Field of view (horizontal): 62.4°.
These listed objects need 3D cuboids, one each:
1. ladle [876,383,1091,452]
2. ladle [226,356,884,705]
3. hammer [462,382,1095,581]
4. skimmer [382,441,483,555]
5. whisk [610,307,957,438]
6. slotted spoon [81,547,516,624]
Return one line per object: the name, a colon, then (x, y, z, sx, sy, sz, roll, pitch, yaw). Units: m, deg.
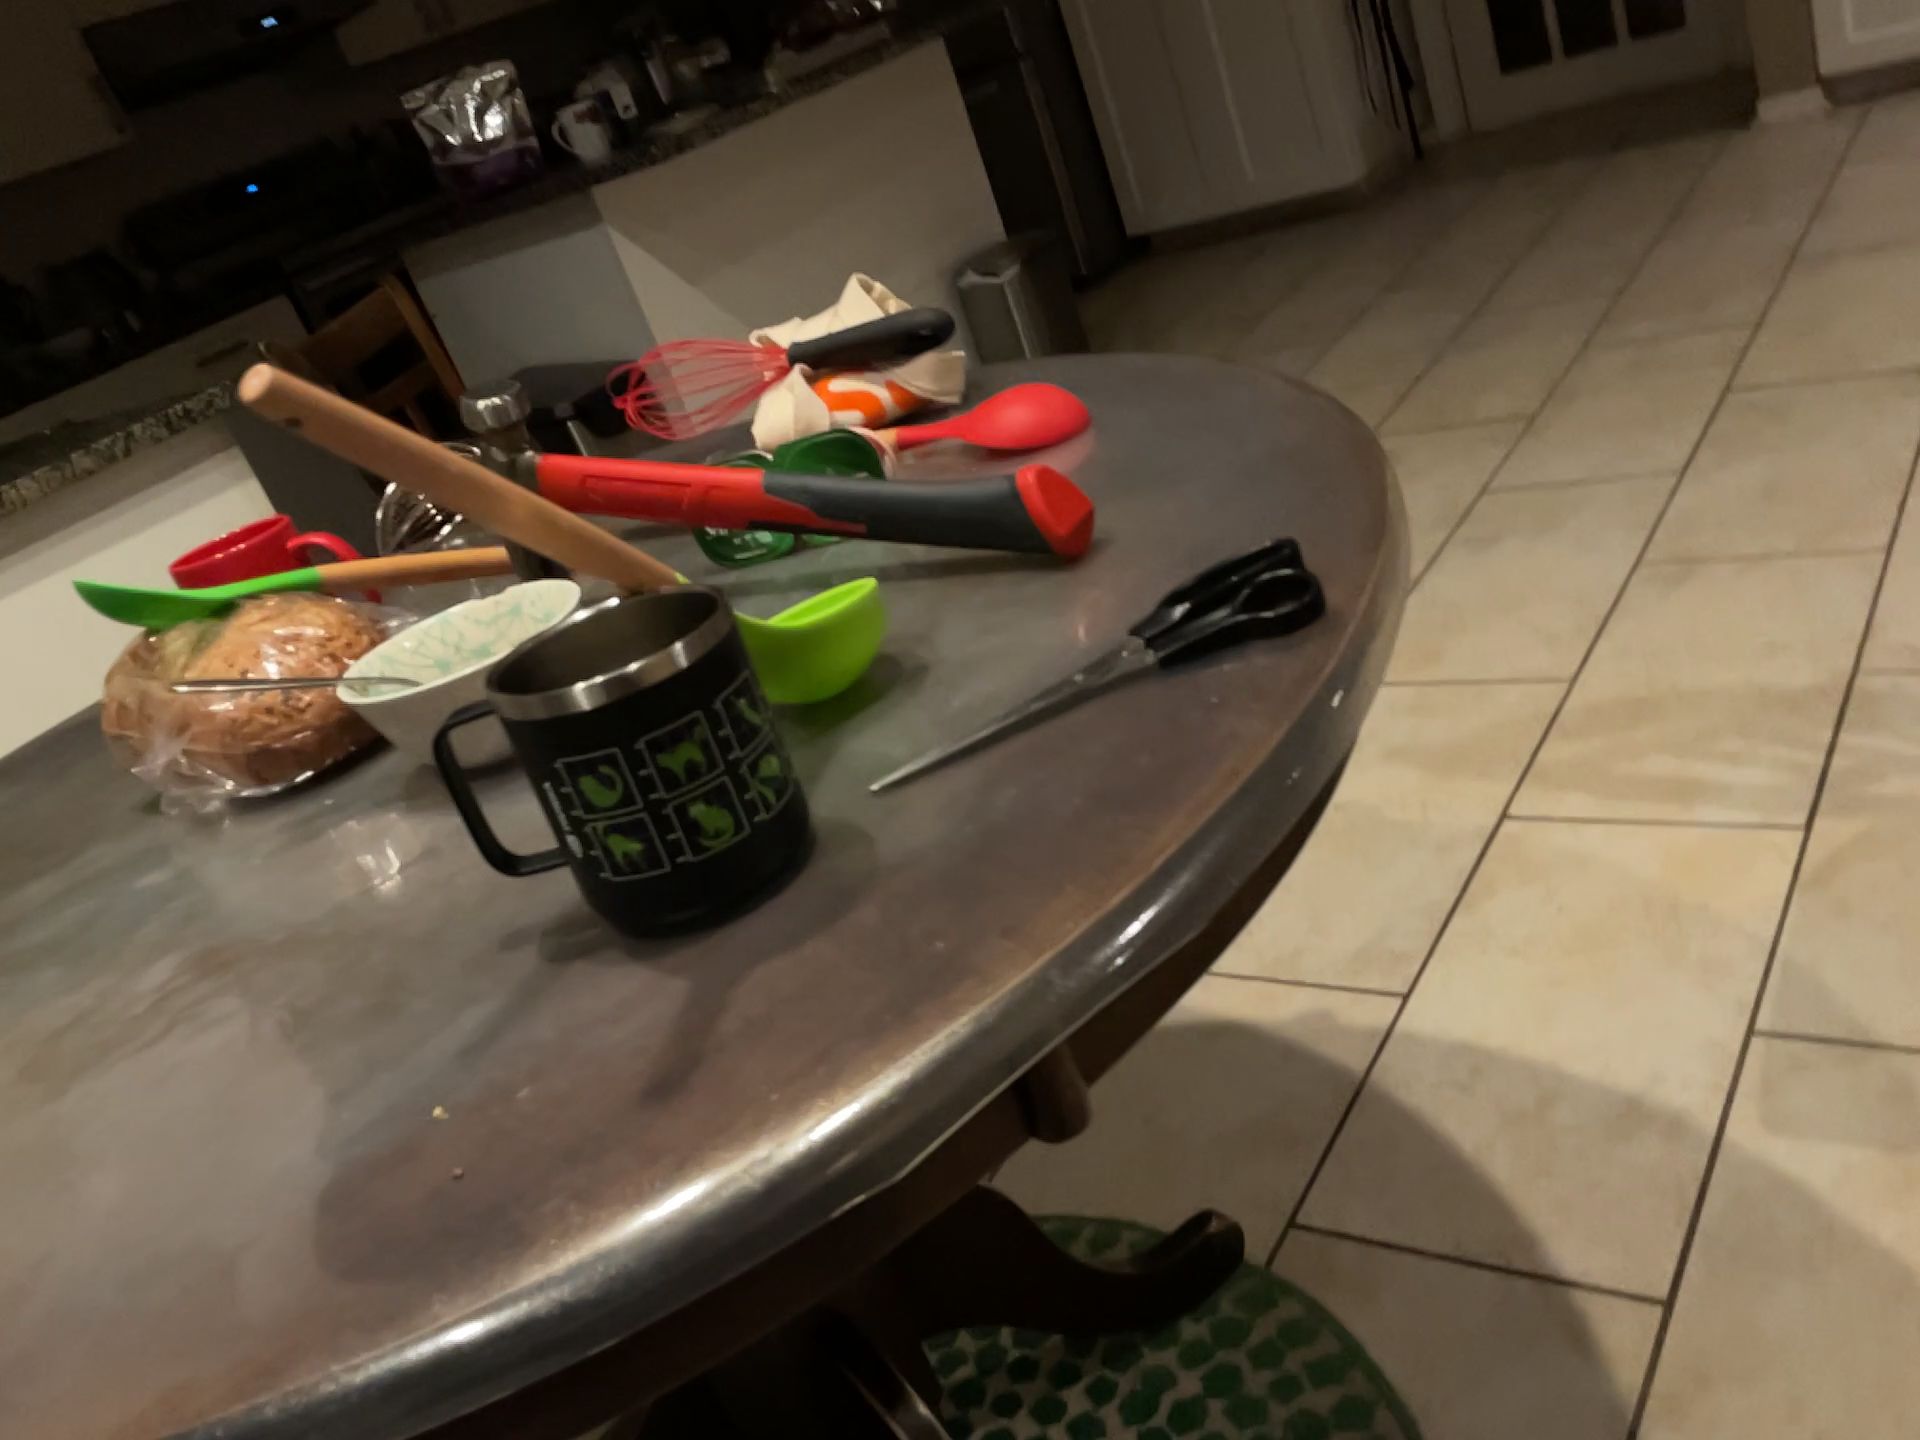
ladle: (-0.056, -0.178, 1.030, 0.316, 0.031, 0.069, -5, 28, 37)
ladle: (-0.130, -0.069, 0.590, 0.078, 0.319, 0.062, -23, 65, 23)
hammer: (-0.105, -0.104, 0.854, 0.387, 0.143, 0.038, 9, 38, 30)
skimmer: (-0.284, -0.143, 1.134, 0.364, 0.090, 0.127, 12, 47, 35)
whisk: (-0.131, -0.252, 1.123, 0.296, 0.073, 0.073, -5, 27, 31)
slotted spoon: (-0.356, -0.087, 0.952, 0.070, 0.031, 0.313, 10, 16, 42)
